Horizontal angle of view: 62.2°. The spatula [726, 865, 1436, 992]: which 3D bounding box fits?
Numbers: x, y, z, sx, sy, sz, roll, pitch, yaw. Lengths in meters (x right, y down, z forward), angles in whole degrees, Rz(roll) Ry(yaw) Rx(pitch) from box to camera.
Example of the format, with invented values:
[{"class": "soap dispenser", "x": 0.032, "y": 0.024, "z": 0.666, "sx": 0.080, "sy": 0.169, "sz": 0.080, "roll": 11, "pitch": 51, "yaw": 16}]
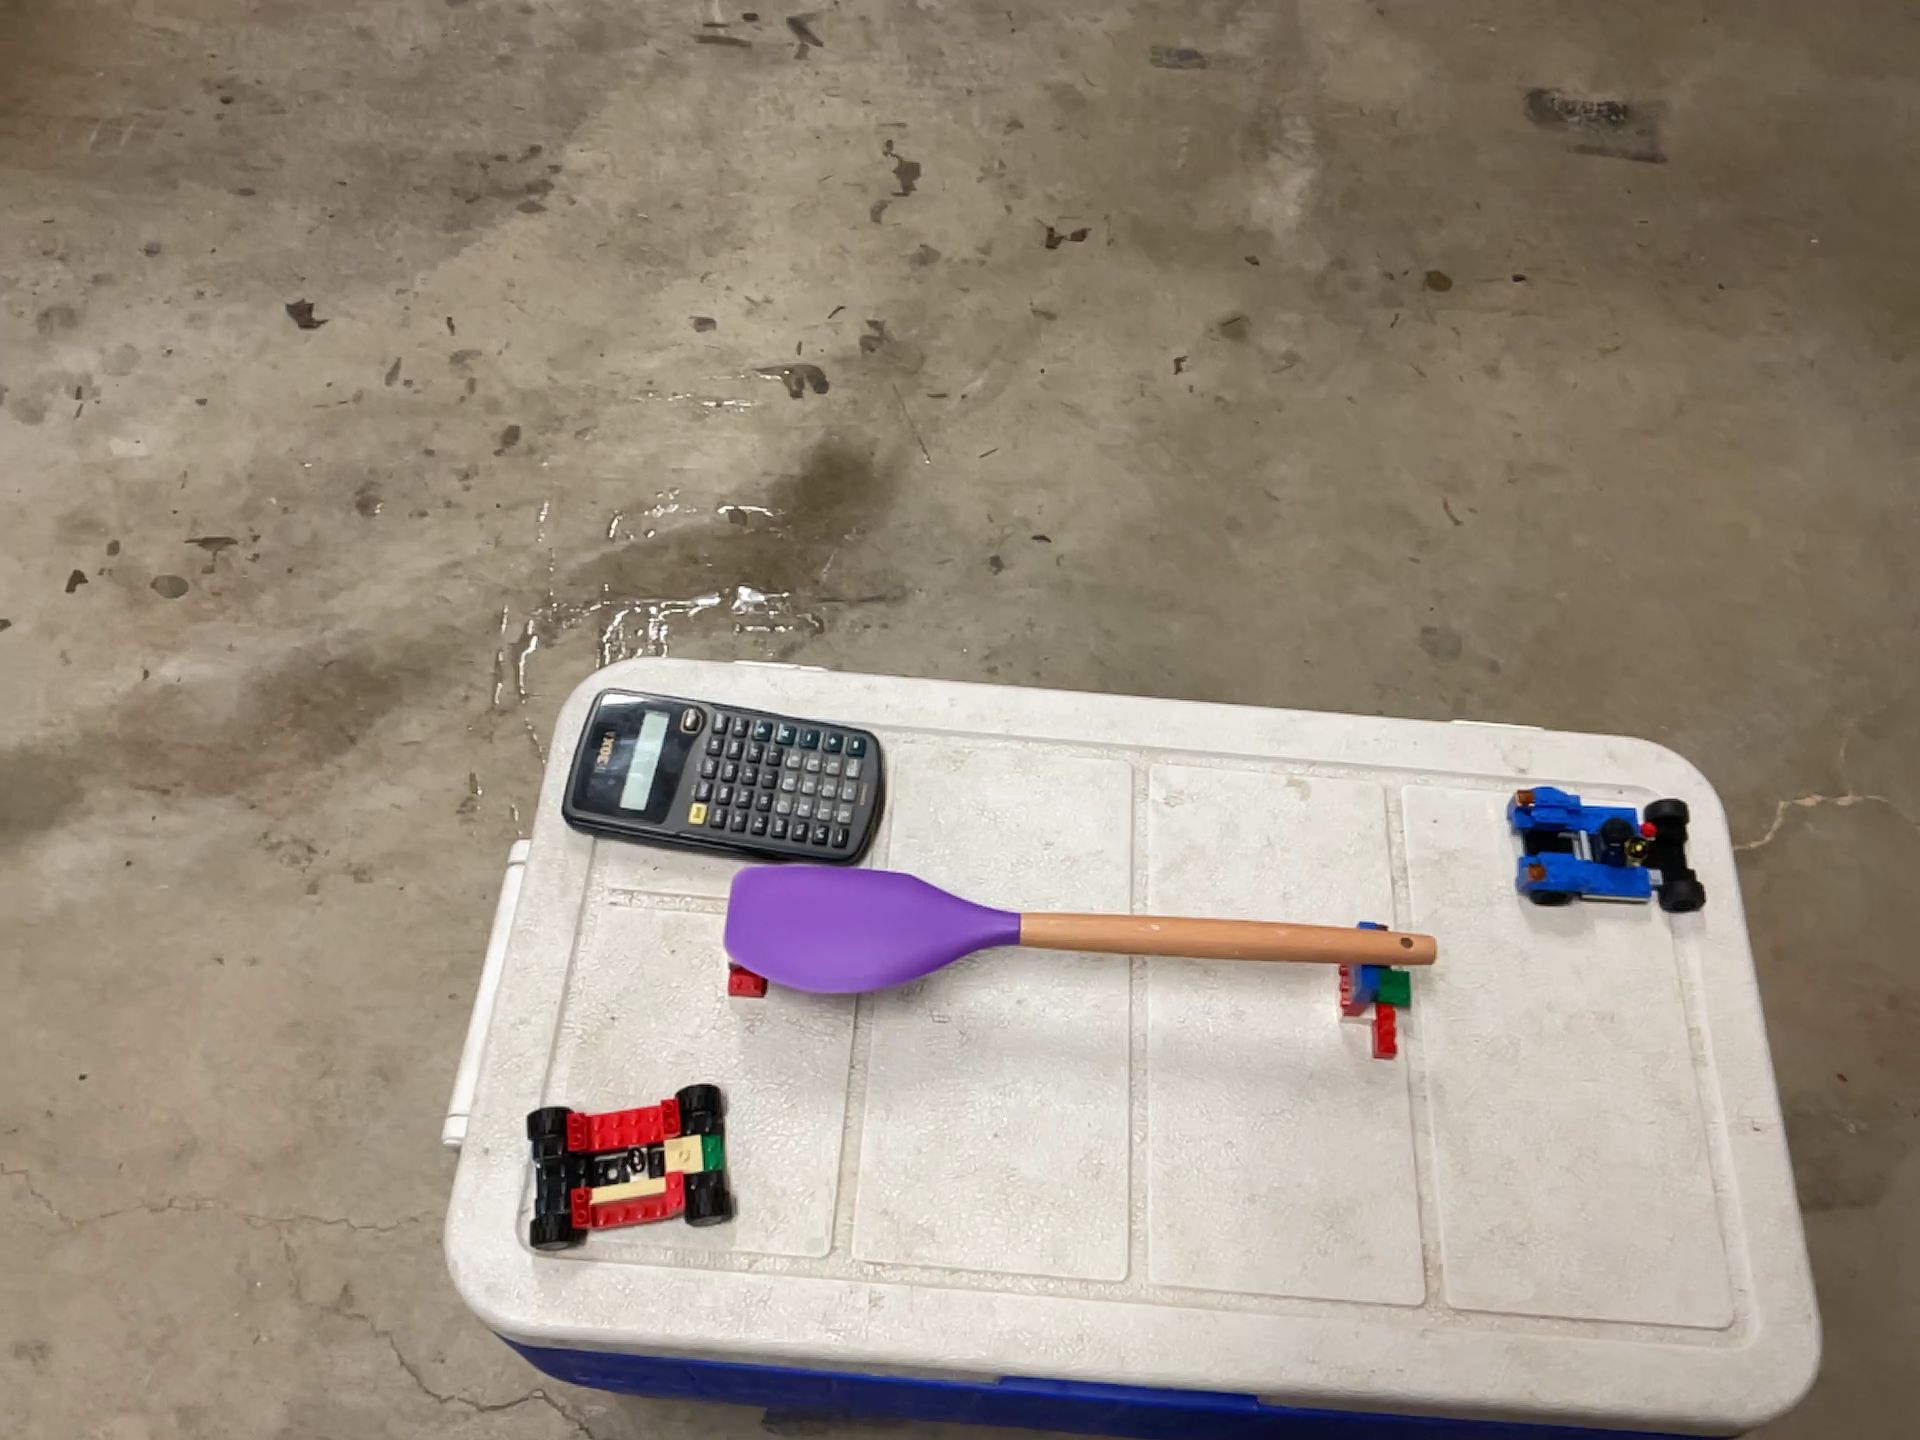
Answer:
[{"class": "spatula", "x": 0.054, "y": 0.097, "z": 0.713, "sx": 0.316, "sy": 0.018, "sz": 0.060, "roll": 2, "pitch": 60, "yaw": 0}]
